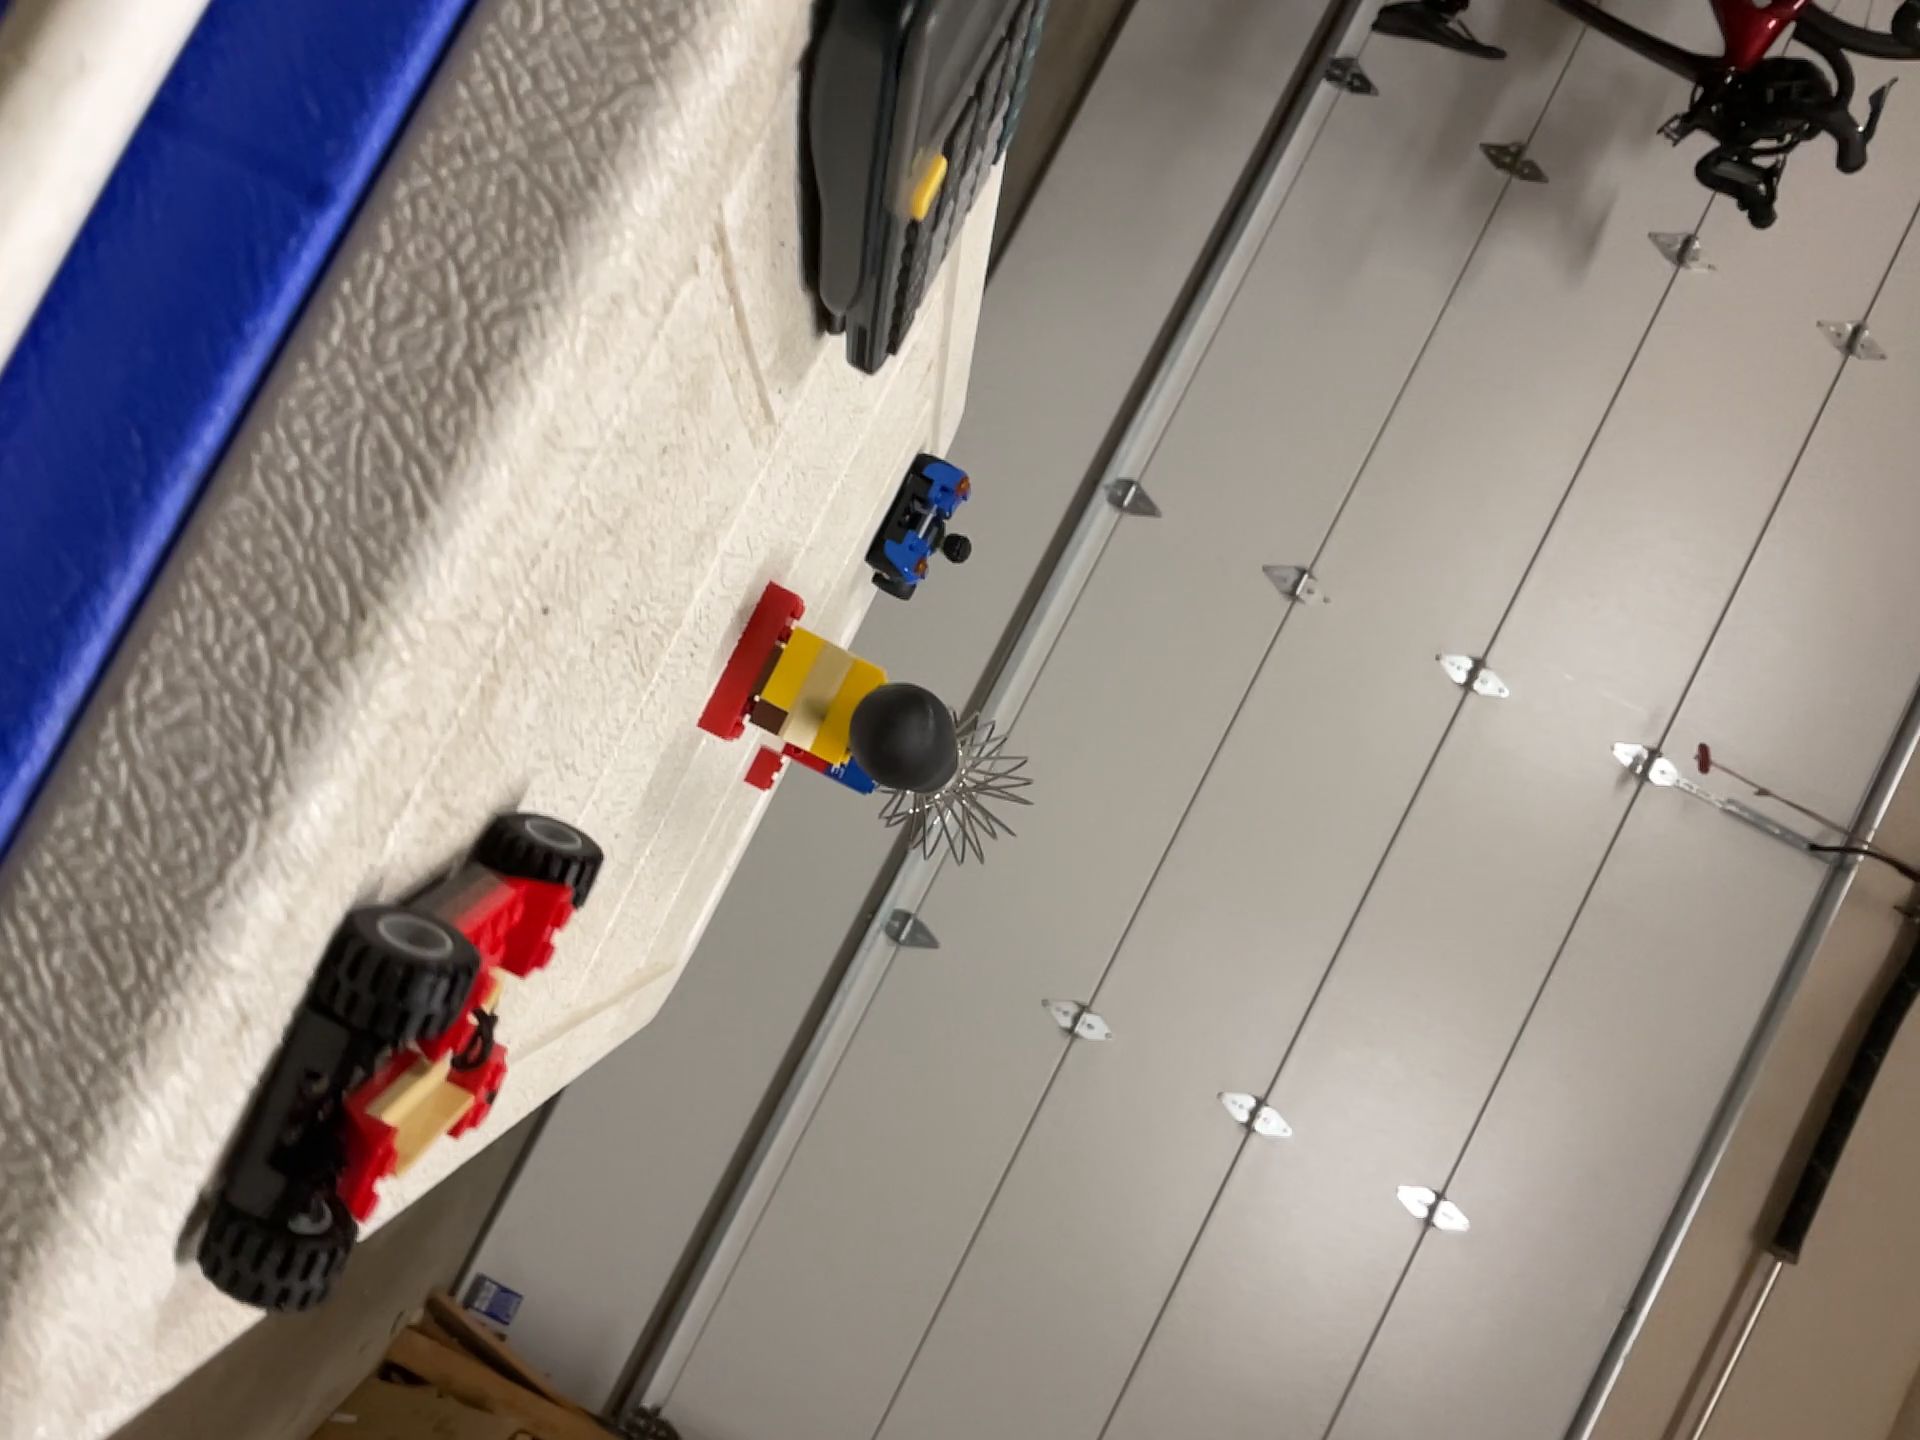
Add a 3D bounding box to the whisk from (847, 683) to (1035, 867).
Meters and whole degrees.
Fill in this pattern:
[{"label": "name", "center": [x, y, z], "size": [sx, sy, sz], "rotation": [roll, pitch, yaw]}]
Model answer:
[{"label": "whisk", "center": [-0.009, 0.018, 0.562], "size": [0.070, 0.070, 0.284], "rotation": [-59, 174, -3]}]
